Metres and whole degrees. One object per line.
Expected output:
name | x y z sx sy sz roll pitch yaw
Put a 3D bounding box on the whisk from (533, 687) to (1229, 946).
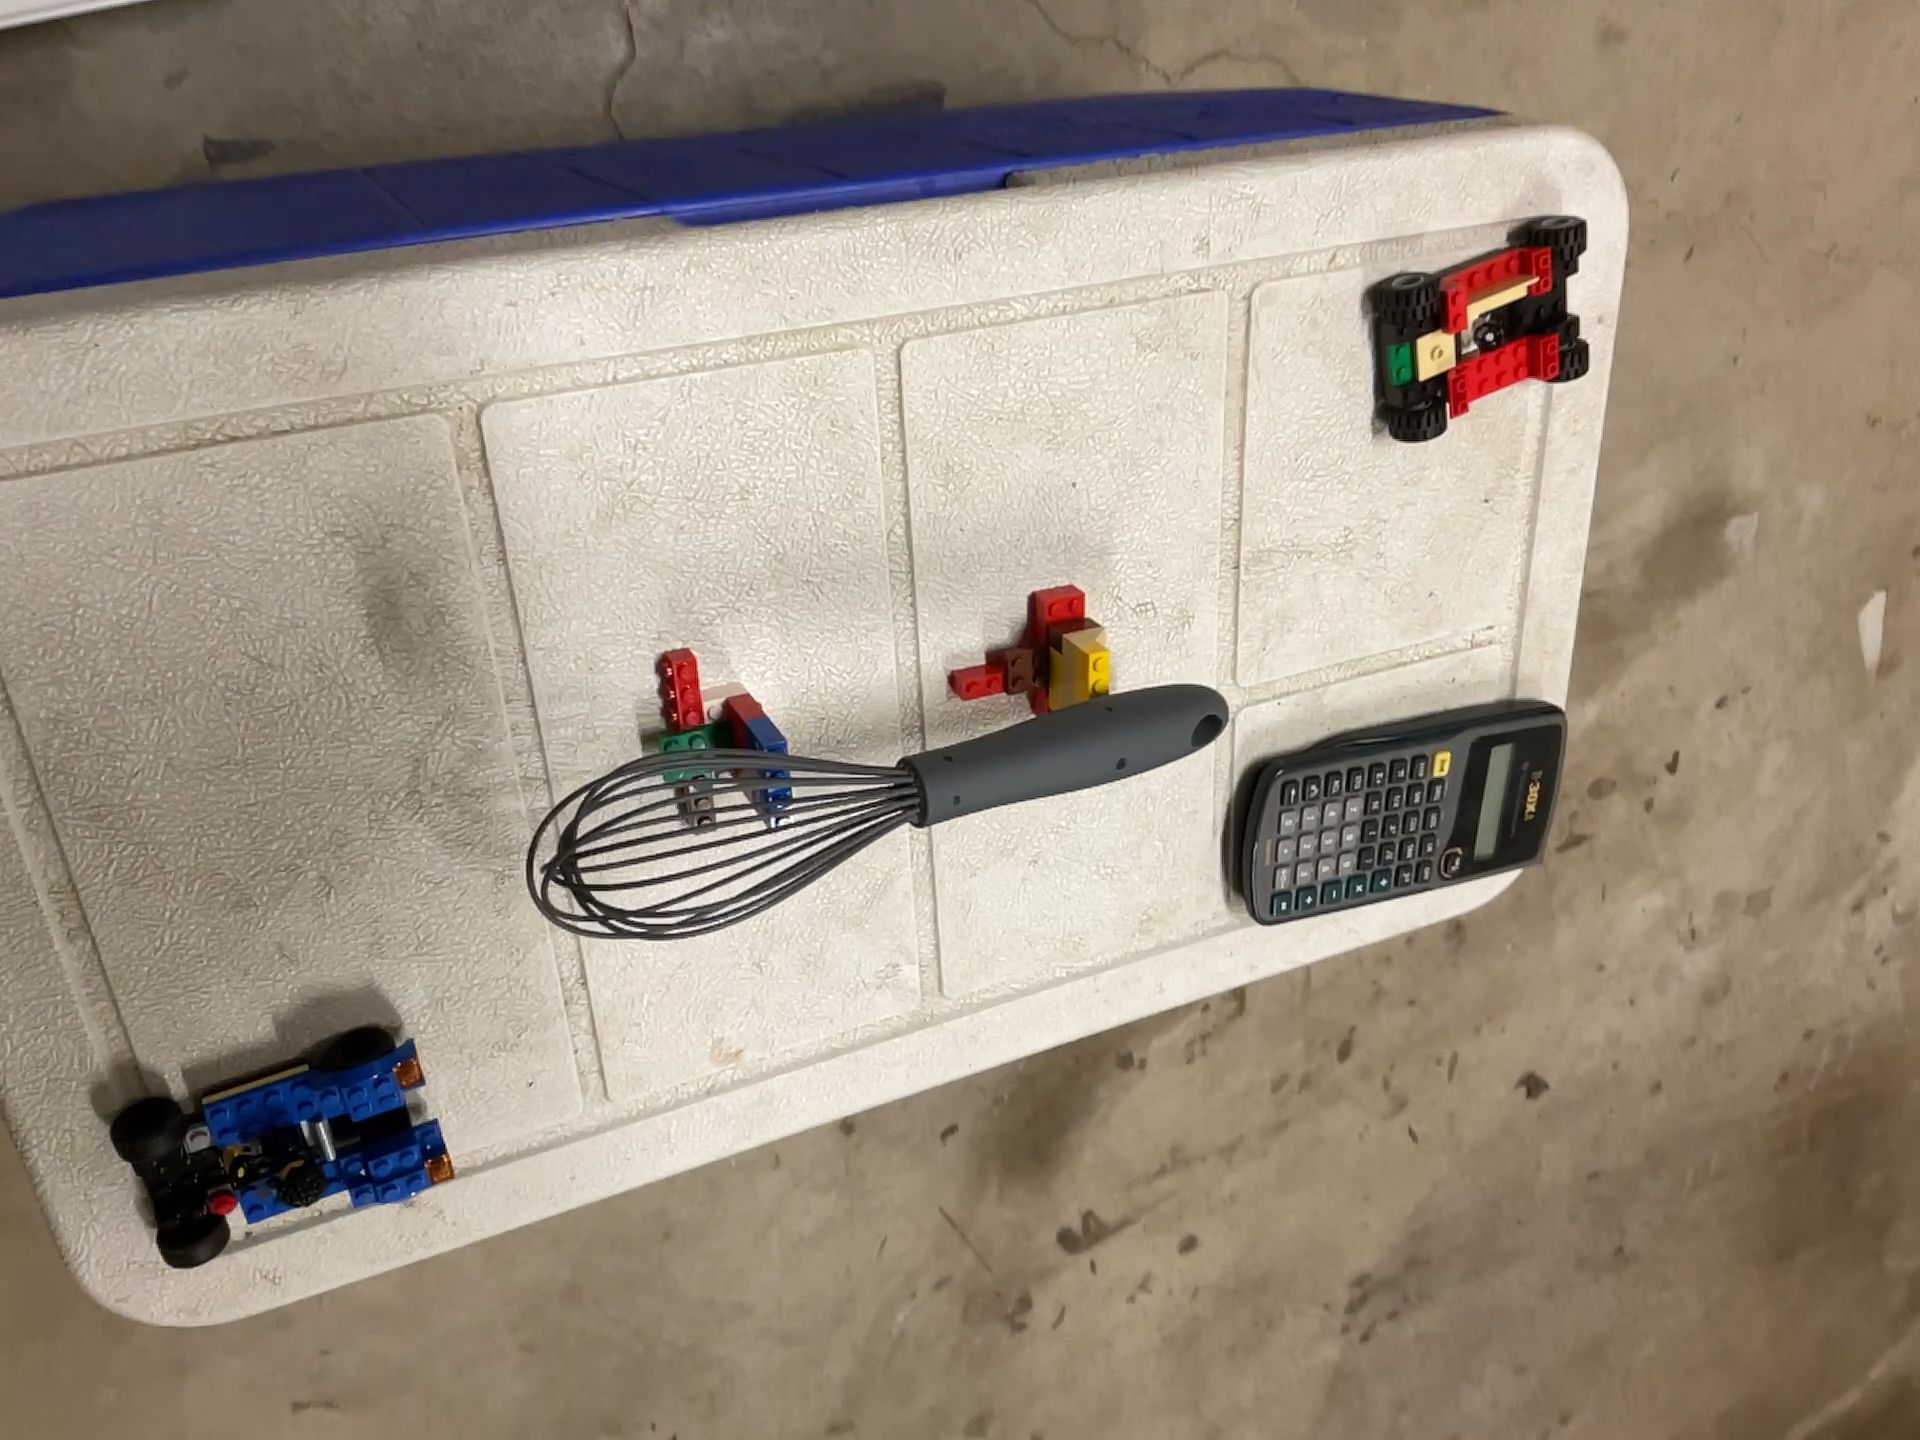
whisk | -0.015 0.023 0.494 0.239 0.055 0.055 -13 121 -26
